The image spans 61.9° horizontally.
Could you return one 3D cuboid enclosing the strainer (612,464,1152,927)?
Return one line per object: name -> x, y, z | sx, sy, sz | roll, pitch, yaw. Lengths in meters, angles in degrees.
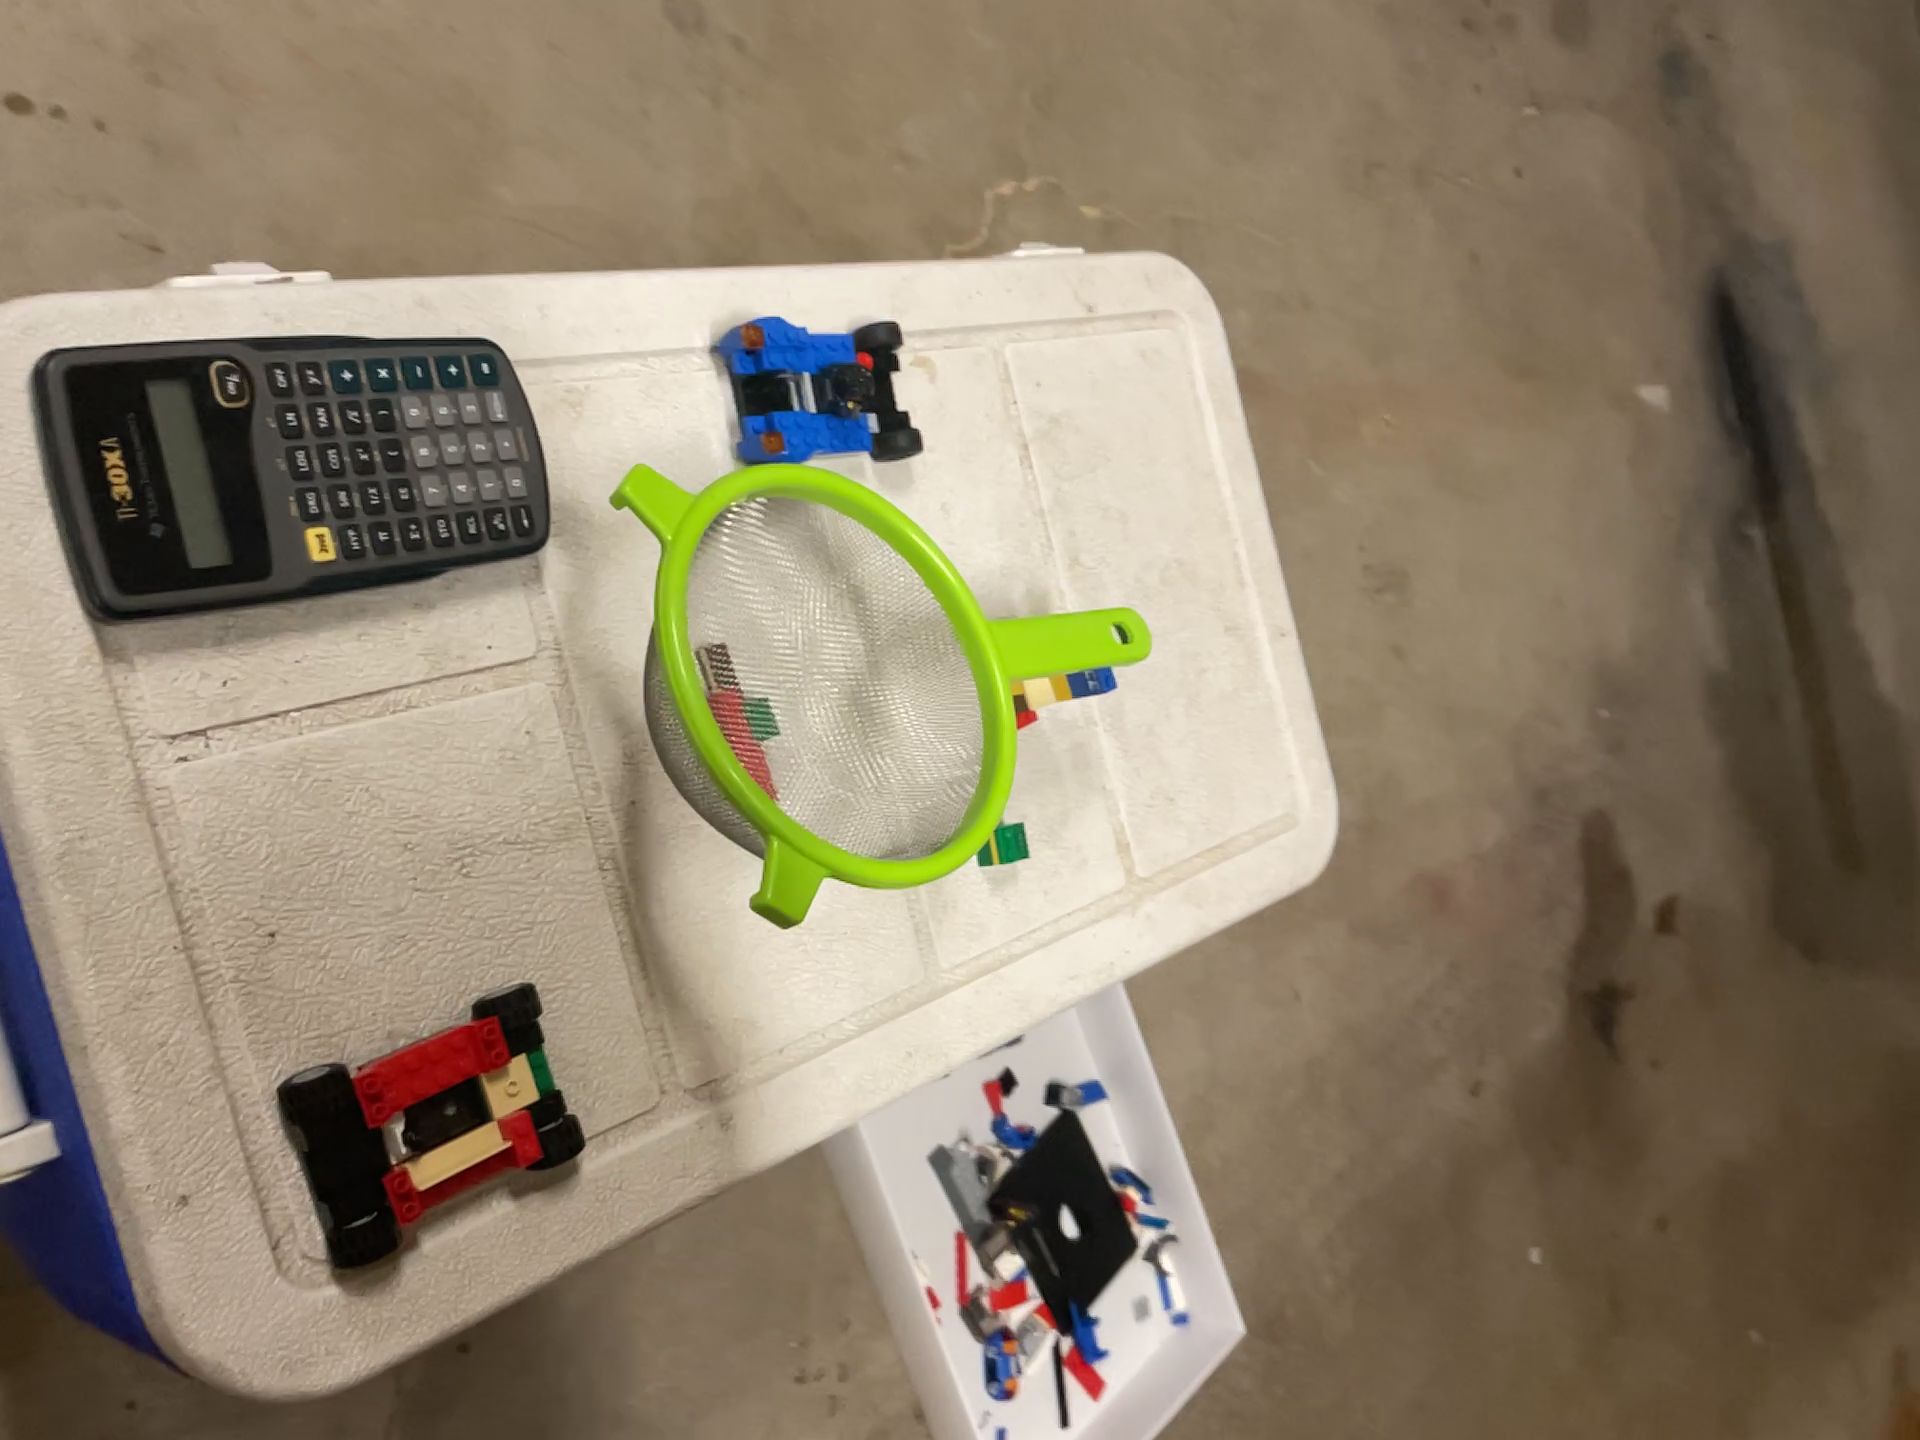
strainer -> -0.022, -0.013, 0.590 | 0.257, 0.069, 0.151 | -10, 76, -51
